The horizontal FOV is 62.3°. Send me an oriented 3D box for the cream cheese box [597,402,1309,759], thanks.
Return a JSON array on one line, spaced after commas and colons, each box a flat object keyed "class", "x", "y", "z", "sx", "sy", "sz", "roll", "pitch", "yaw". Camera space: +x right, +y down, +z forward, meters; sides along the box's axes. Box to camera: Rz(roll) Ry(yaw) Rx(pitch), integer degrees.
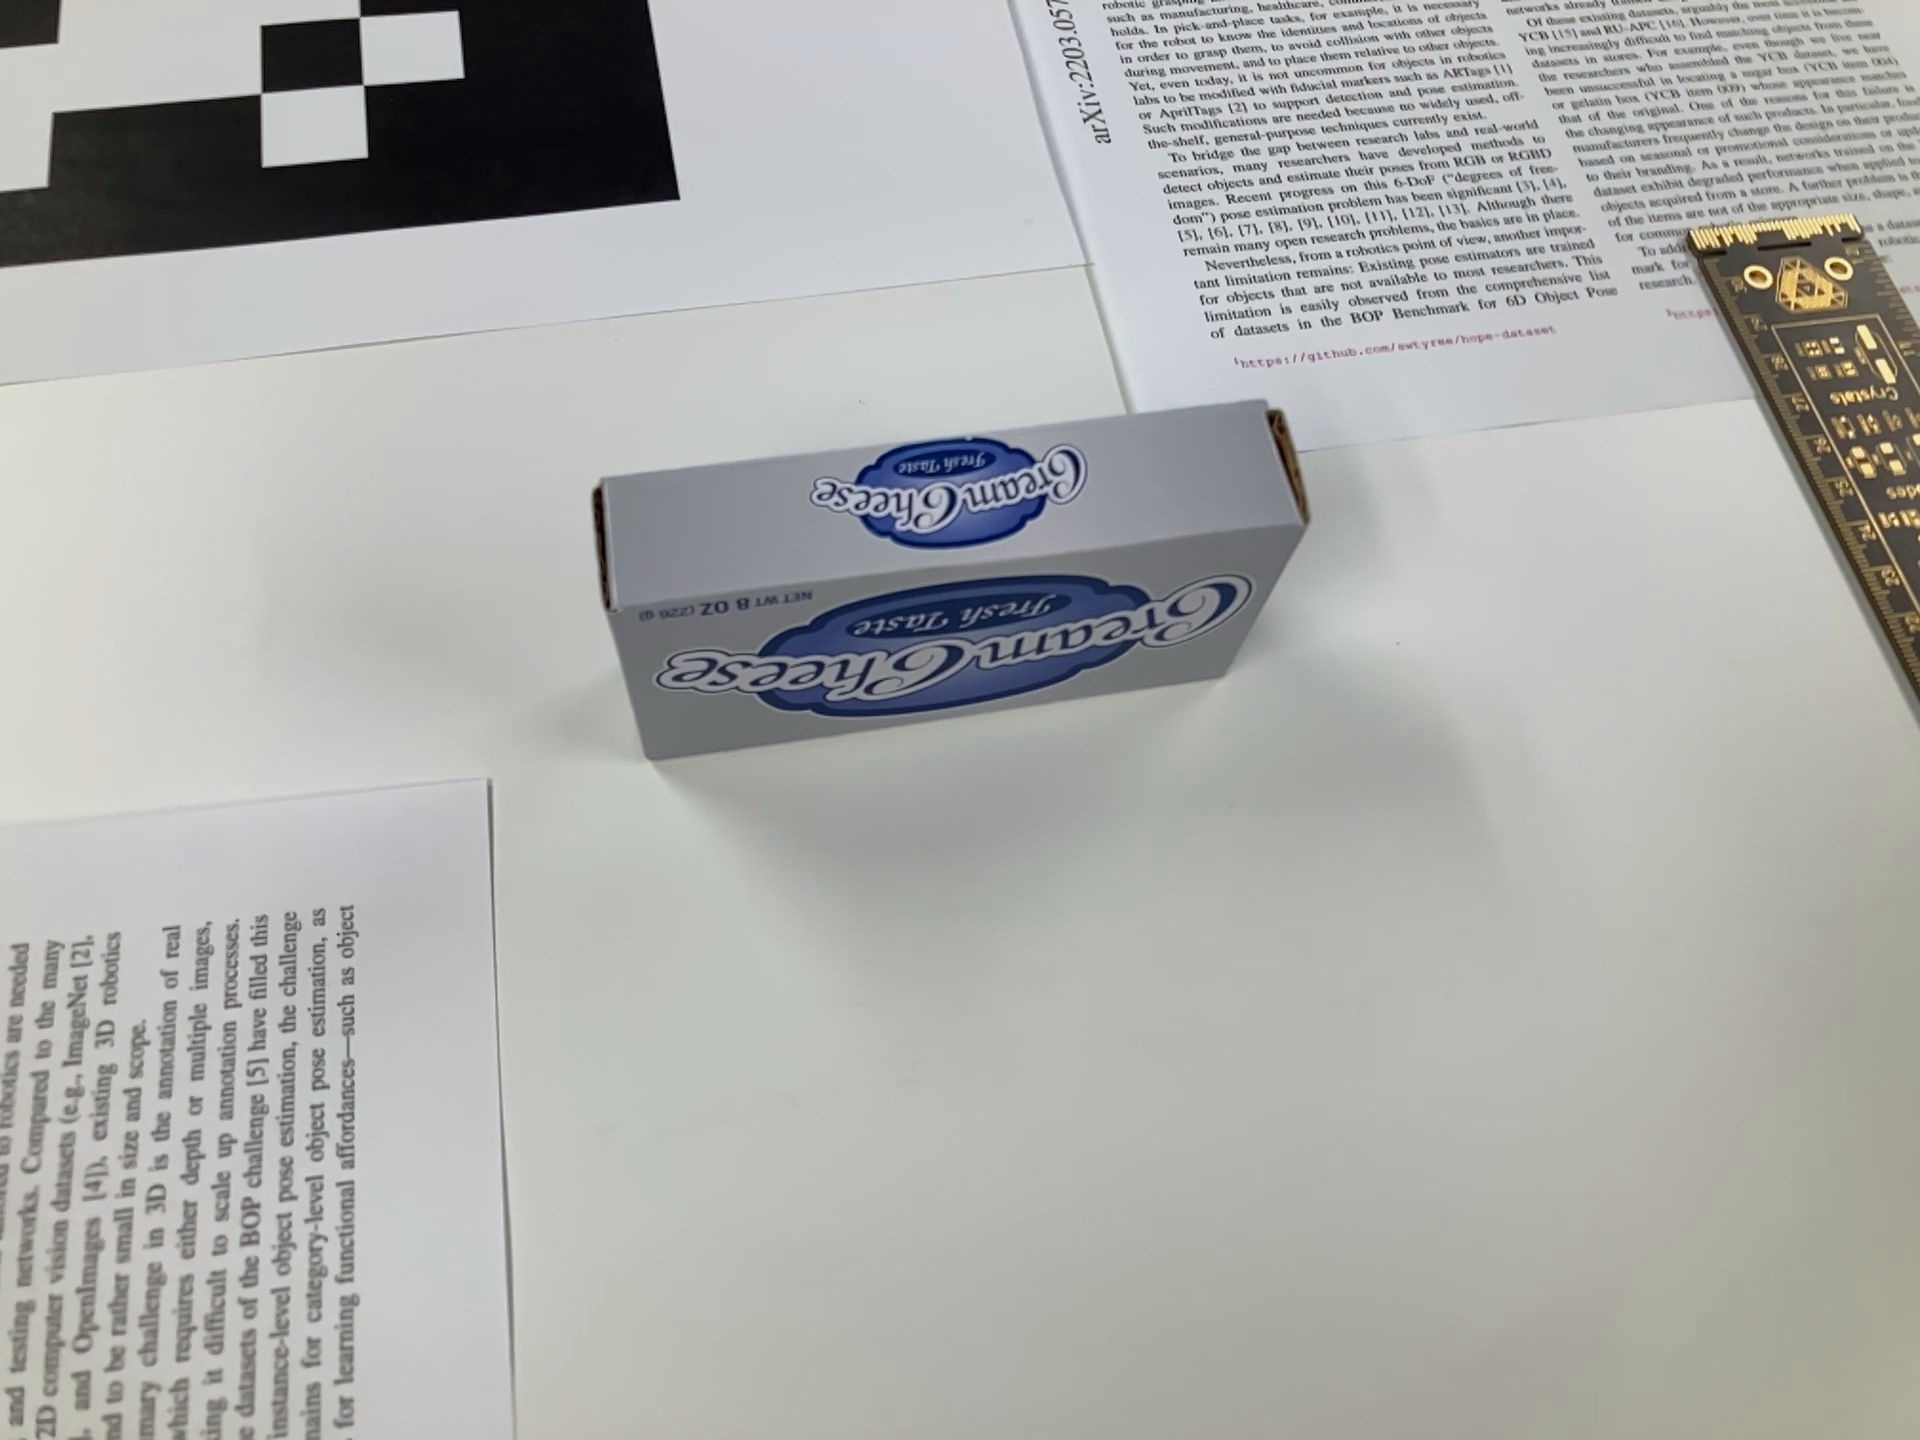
[{"class": "cream cheese box", "x": -0.002, "y": -0.021, "z": 0.255, "sx": 0.104, "sy": 0.053, "sz": 0.024, "roll": -8, "pitch": 66, "yaw": -9}]
